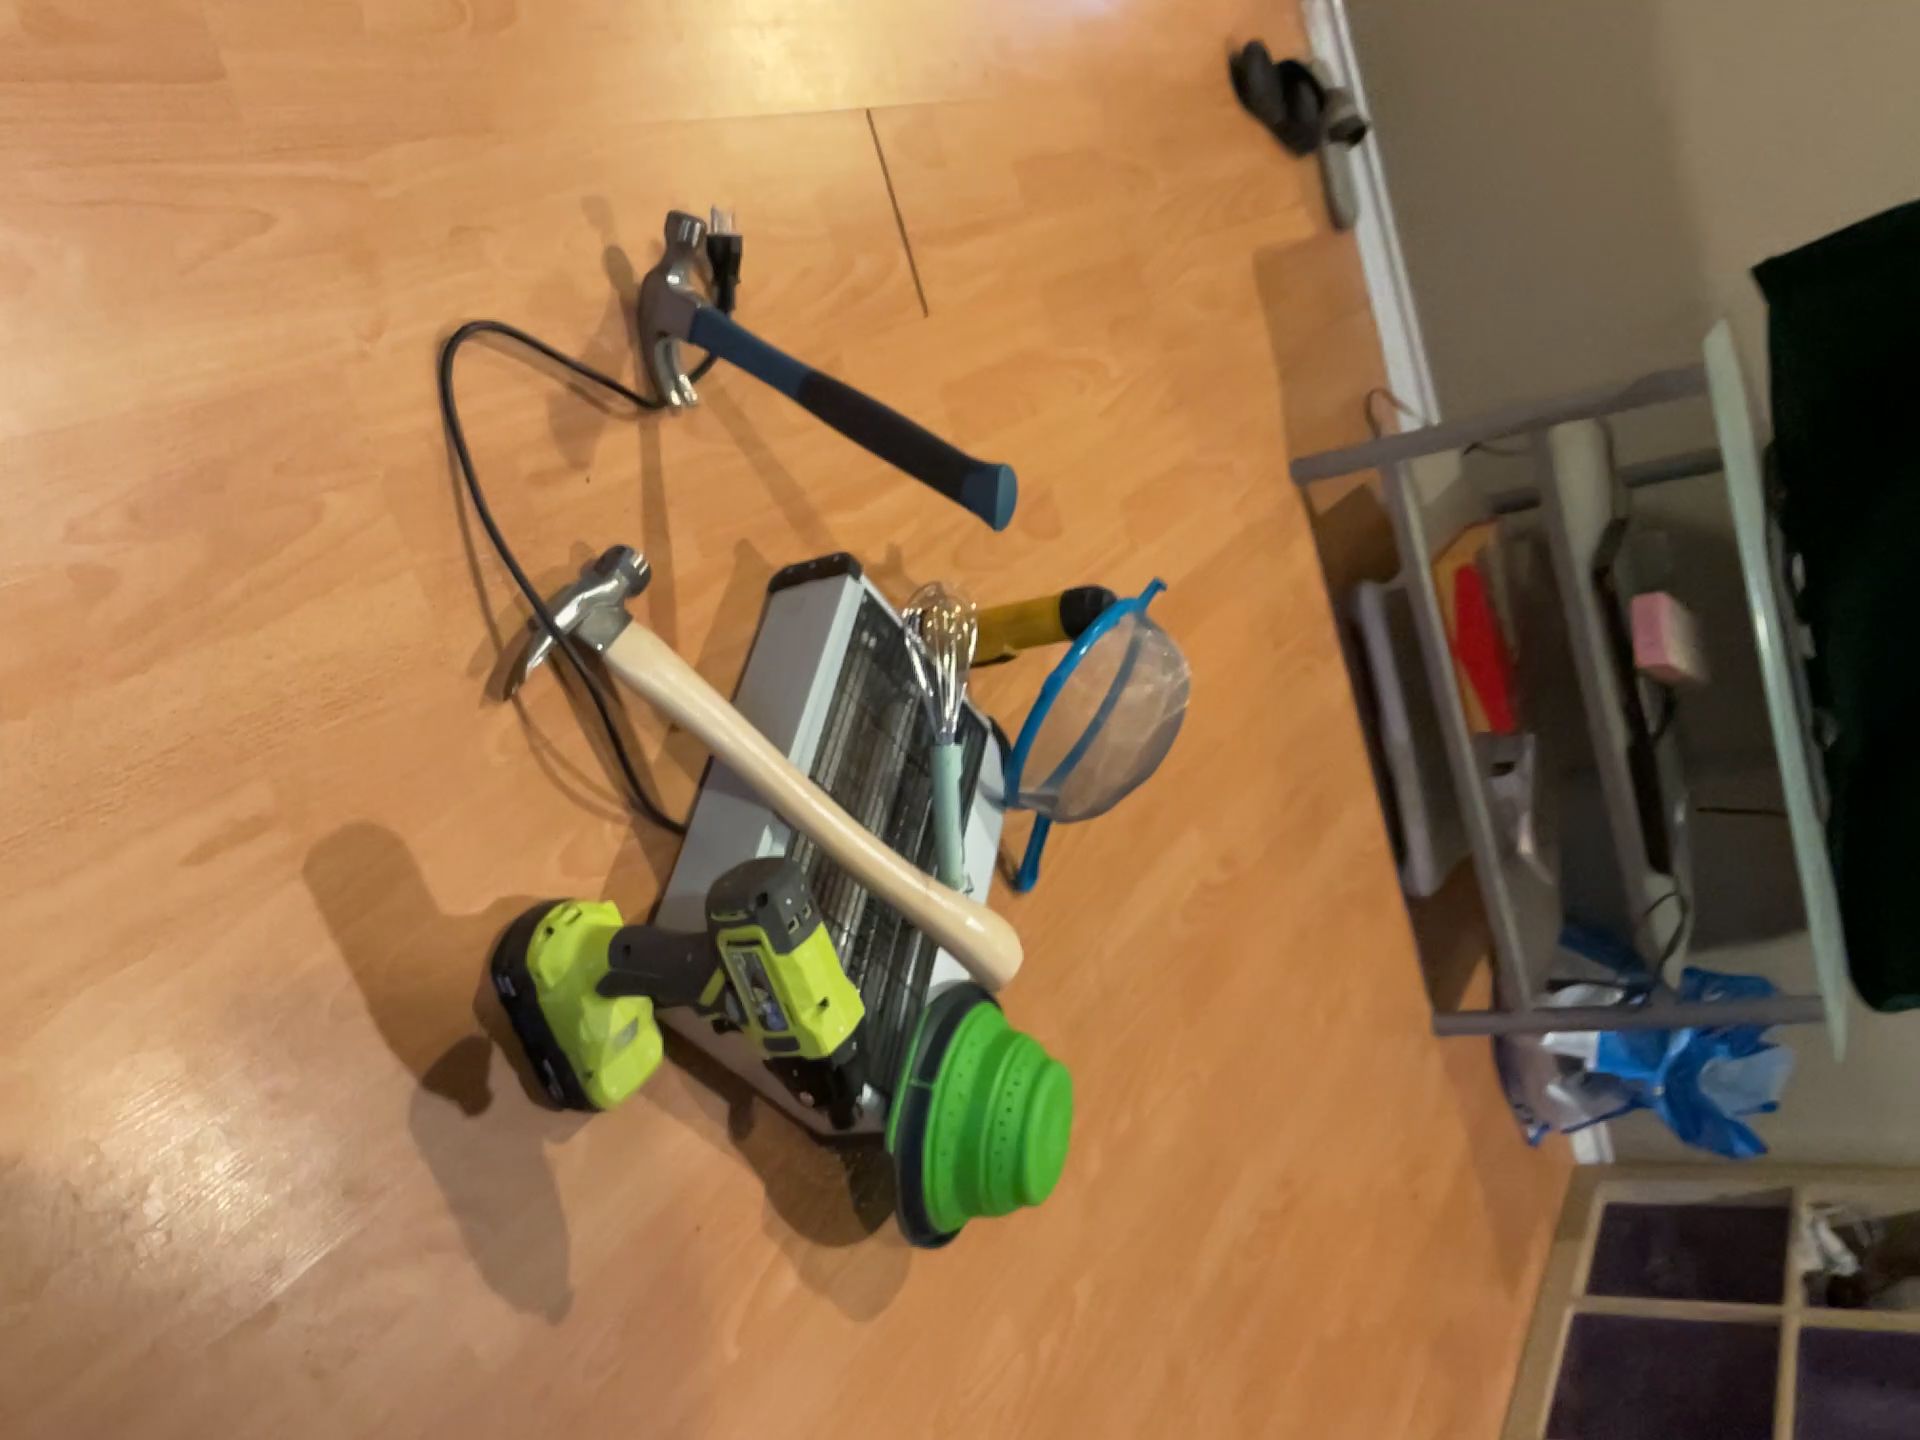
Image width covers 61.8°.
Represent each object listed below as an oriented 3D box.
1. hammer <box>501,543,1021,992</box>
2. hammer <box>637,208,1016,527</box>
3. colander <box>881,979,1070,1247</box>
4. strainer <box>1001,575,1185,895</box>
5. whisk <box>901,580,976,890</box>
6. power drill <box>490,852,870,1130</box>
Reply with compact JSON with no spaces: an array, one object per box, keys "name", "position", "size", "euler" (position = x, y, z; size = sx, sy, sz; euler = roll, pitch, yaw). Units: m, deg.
[{"name":"hammer","position":[-0.120,0.057,1.100],"size":[0.410,0.038,0.146],"euler":[42,43,-13]},{"name":"hammer","position":[-0.098,-0.231,1.124],"size":[0.033,0.331,0.128],"euler":[-25,143,-57]},{"name":"colander","position":[0.049,0.344,1.301],"size":[0.396,0.094,0.204],"euler":[59,42,-58]},{"name":"strainer","position":[0.121,0.053,1.406],"size":[0.211,0.095,0.340],"euler":[-41,153,-42]},{"name":"whisk","position":[-0.013,0.011,1.267],"size":[0.058,0.059,0.246],"euler":[51,36,-85]},{"name":"power drill","position":[-0.163,0.173,0.971],"size":[0.080,0.223,0.171],"euler":[-43,119,-52]}]
